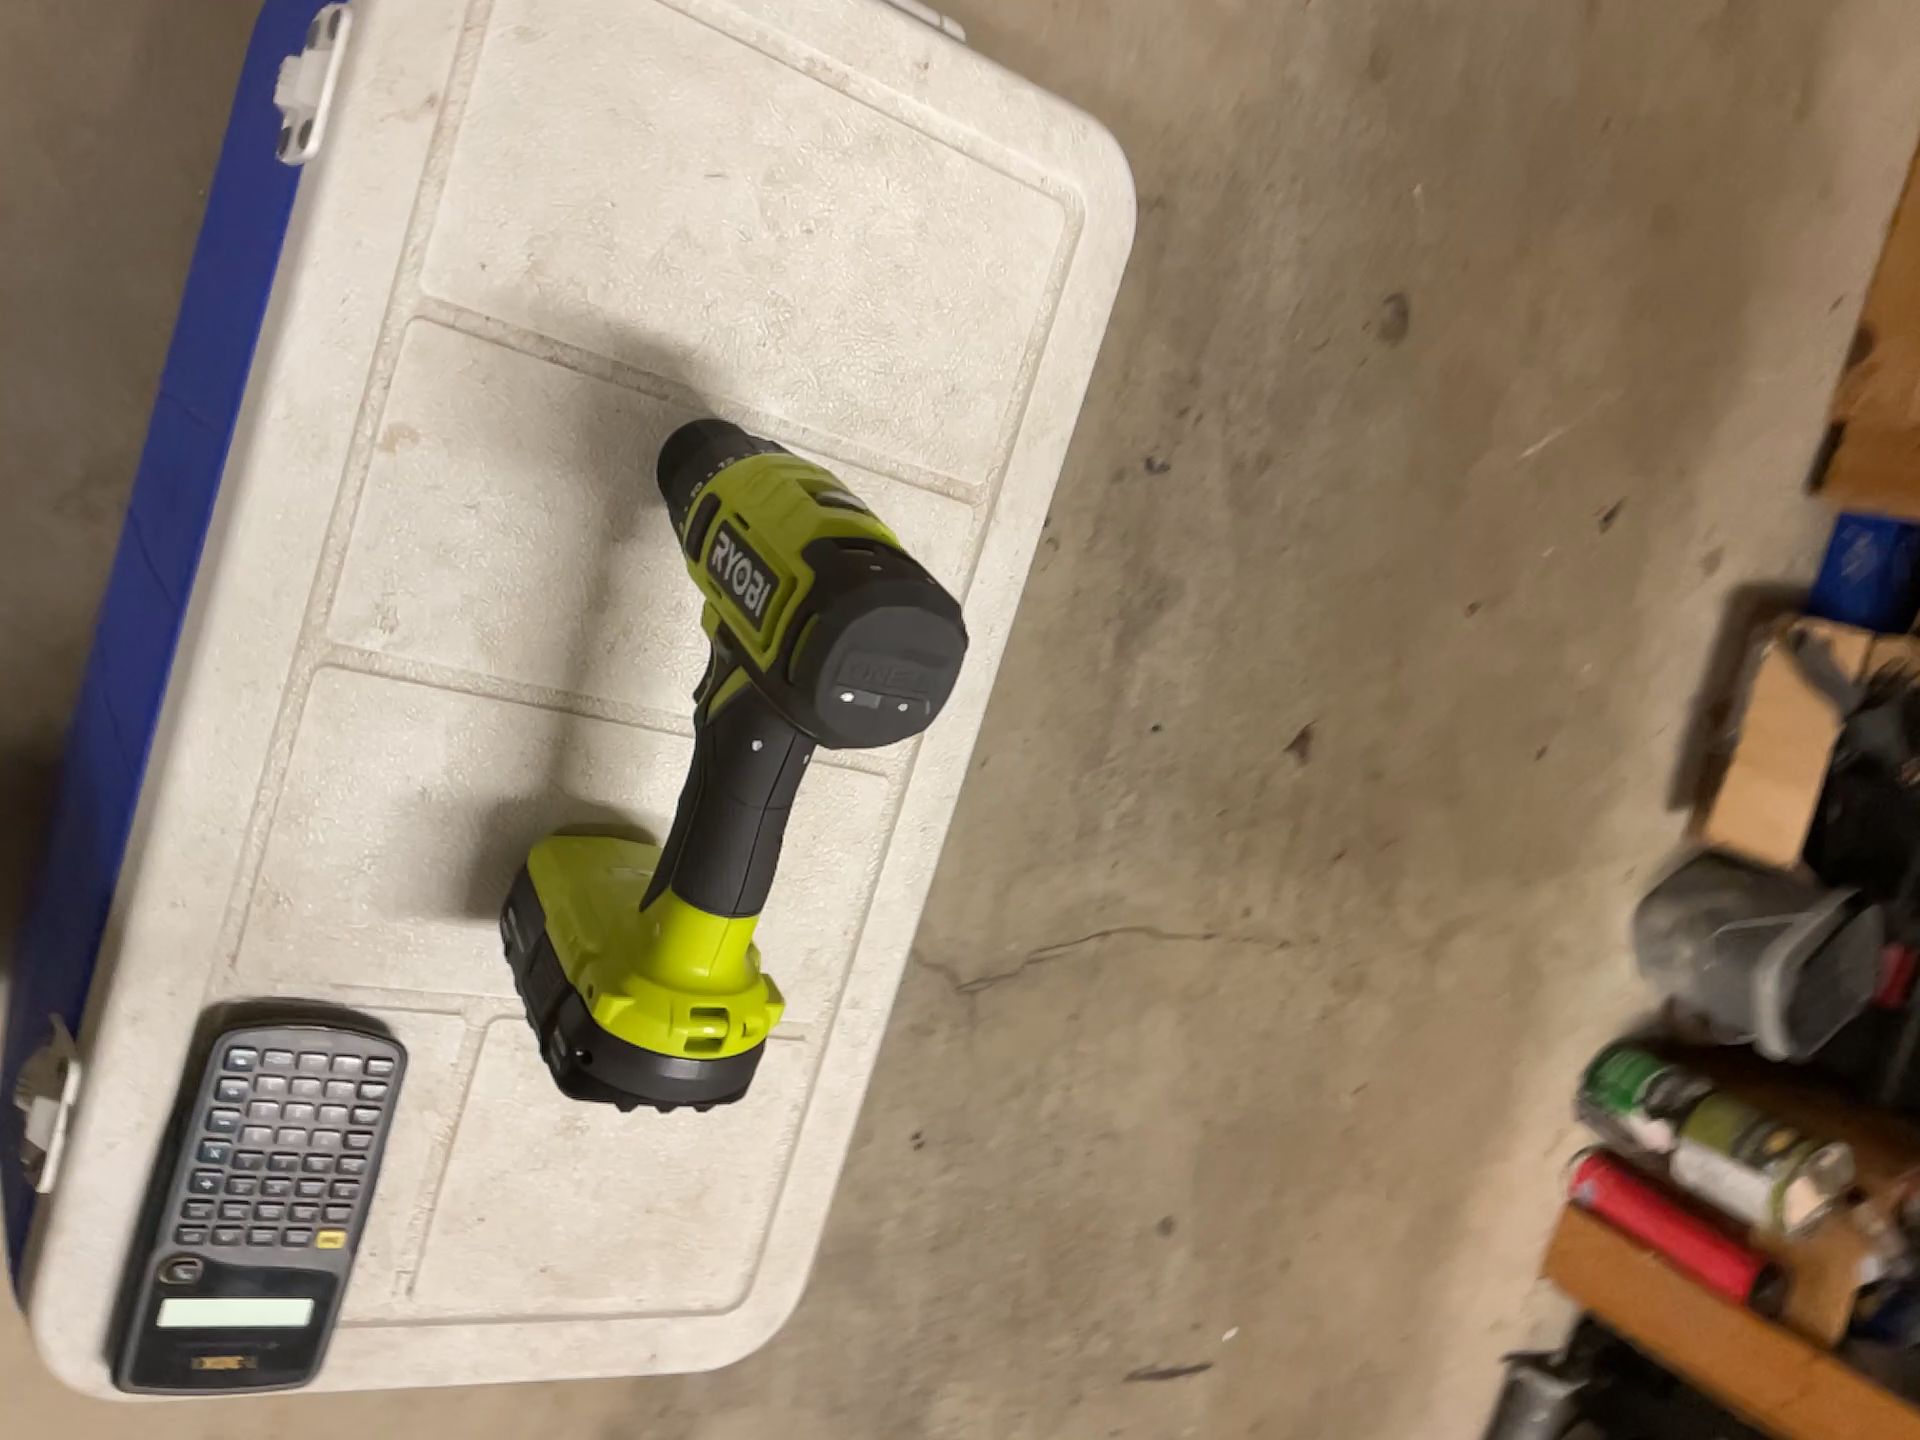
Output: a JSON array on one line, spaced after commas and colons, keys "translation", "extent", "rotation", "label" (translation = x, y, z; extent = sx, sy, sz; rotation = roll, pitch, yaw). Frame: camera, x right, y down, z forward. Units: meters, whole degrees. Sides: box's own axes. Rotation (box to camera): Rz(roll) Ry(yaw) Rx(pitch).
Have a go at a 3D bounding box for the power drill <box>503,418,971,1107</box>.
[{"translation": [-0.095, 0.008, 0.599], "extent": [0.080, 0.190, 0.228], "rotation": [10, 113, -35], "label": "power drill"}]
